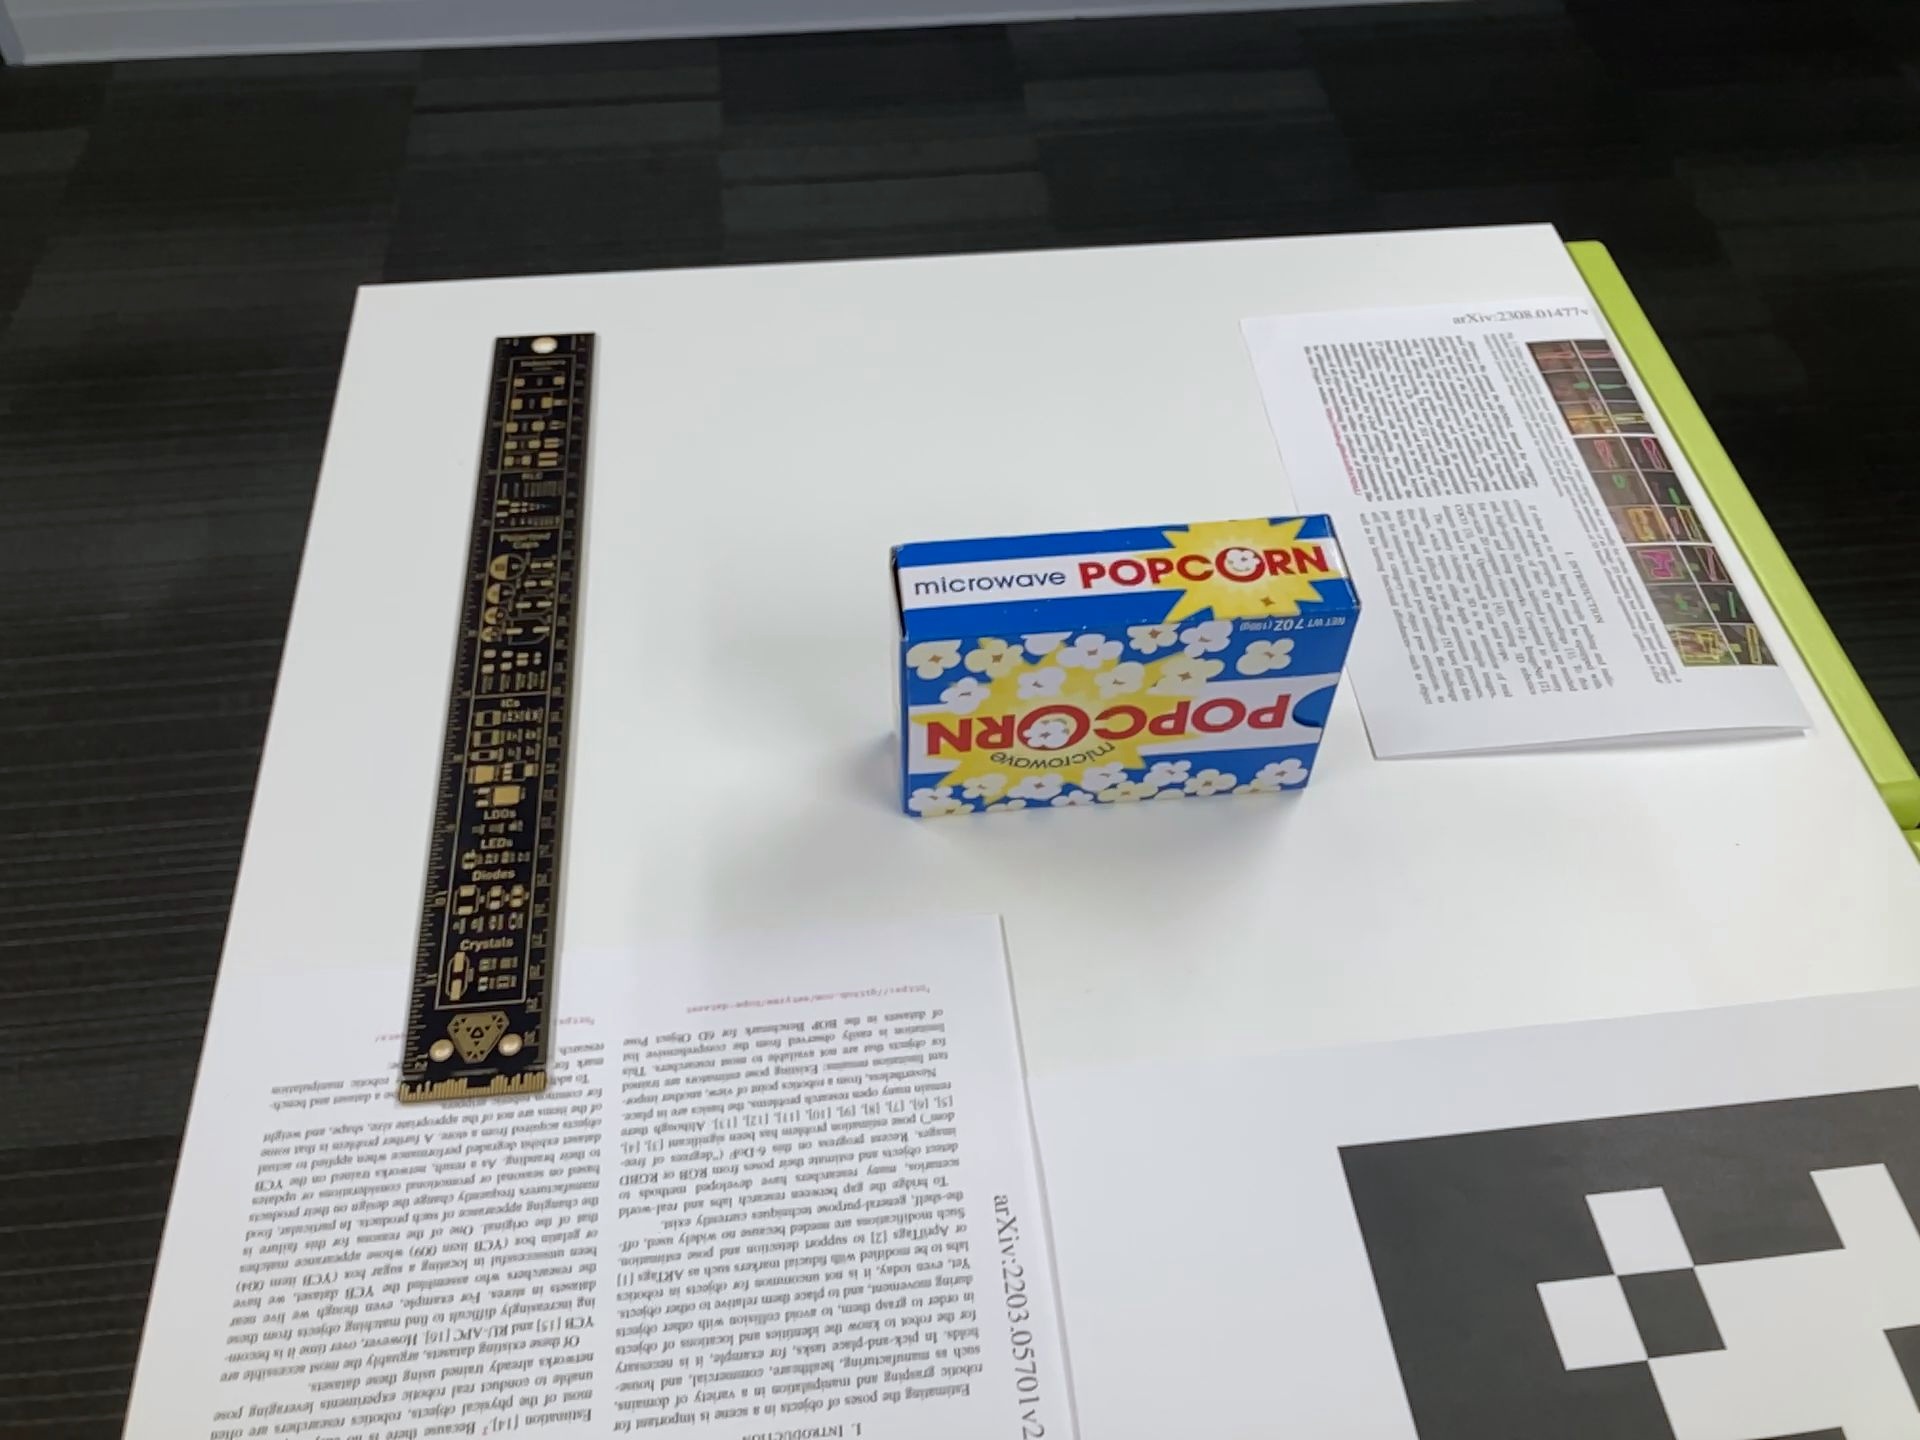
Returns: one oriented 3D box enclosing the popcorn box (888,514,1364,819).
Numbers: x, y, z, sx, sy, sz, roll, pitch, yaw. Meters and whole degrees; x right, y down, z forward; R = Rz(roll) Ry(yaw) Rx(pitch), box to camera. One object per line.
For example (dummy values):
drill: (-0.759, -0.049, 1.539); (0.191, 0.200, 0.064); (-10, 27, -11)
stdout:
popcorn box: (0.044, -0.014, 0.464); (0.126, 0.085, 0.038); (-4, 51, -4)
